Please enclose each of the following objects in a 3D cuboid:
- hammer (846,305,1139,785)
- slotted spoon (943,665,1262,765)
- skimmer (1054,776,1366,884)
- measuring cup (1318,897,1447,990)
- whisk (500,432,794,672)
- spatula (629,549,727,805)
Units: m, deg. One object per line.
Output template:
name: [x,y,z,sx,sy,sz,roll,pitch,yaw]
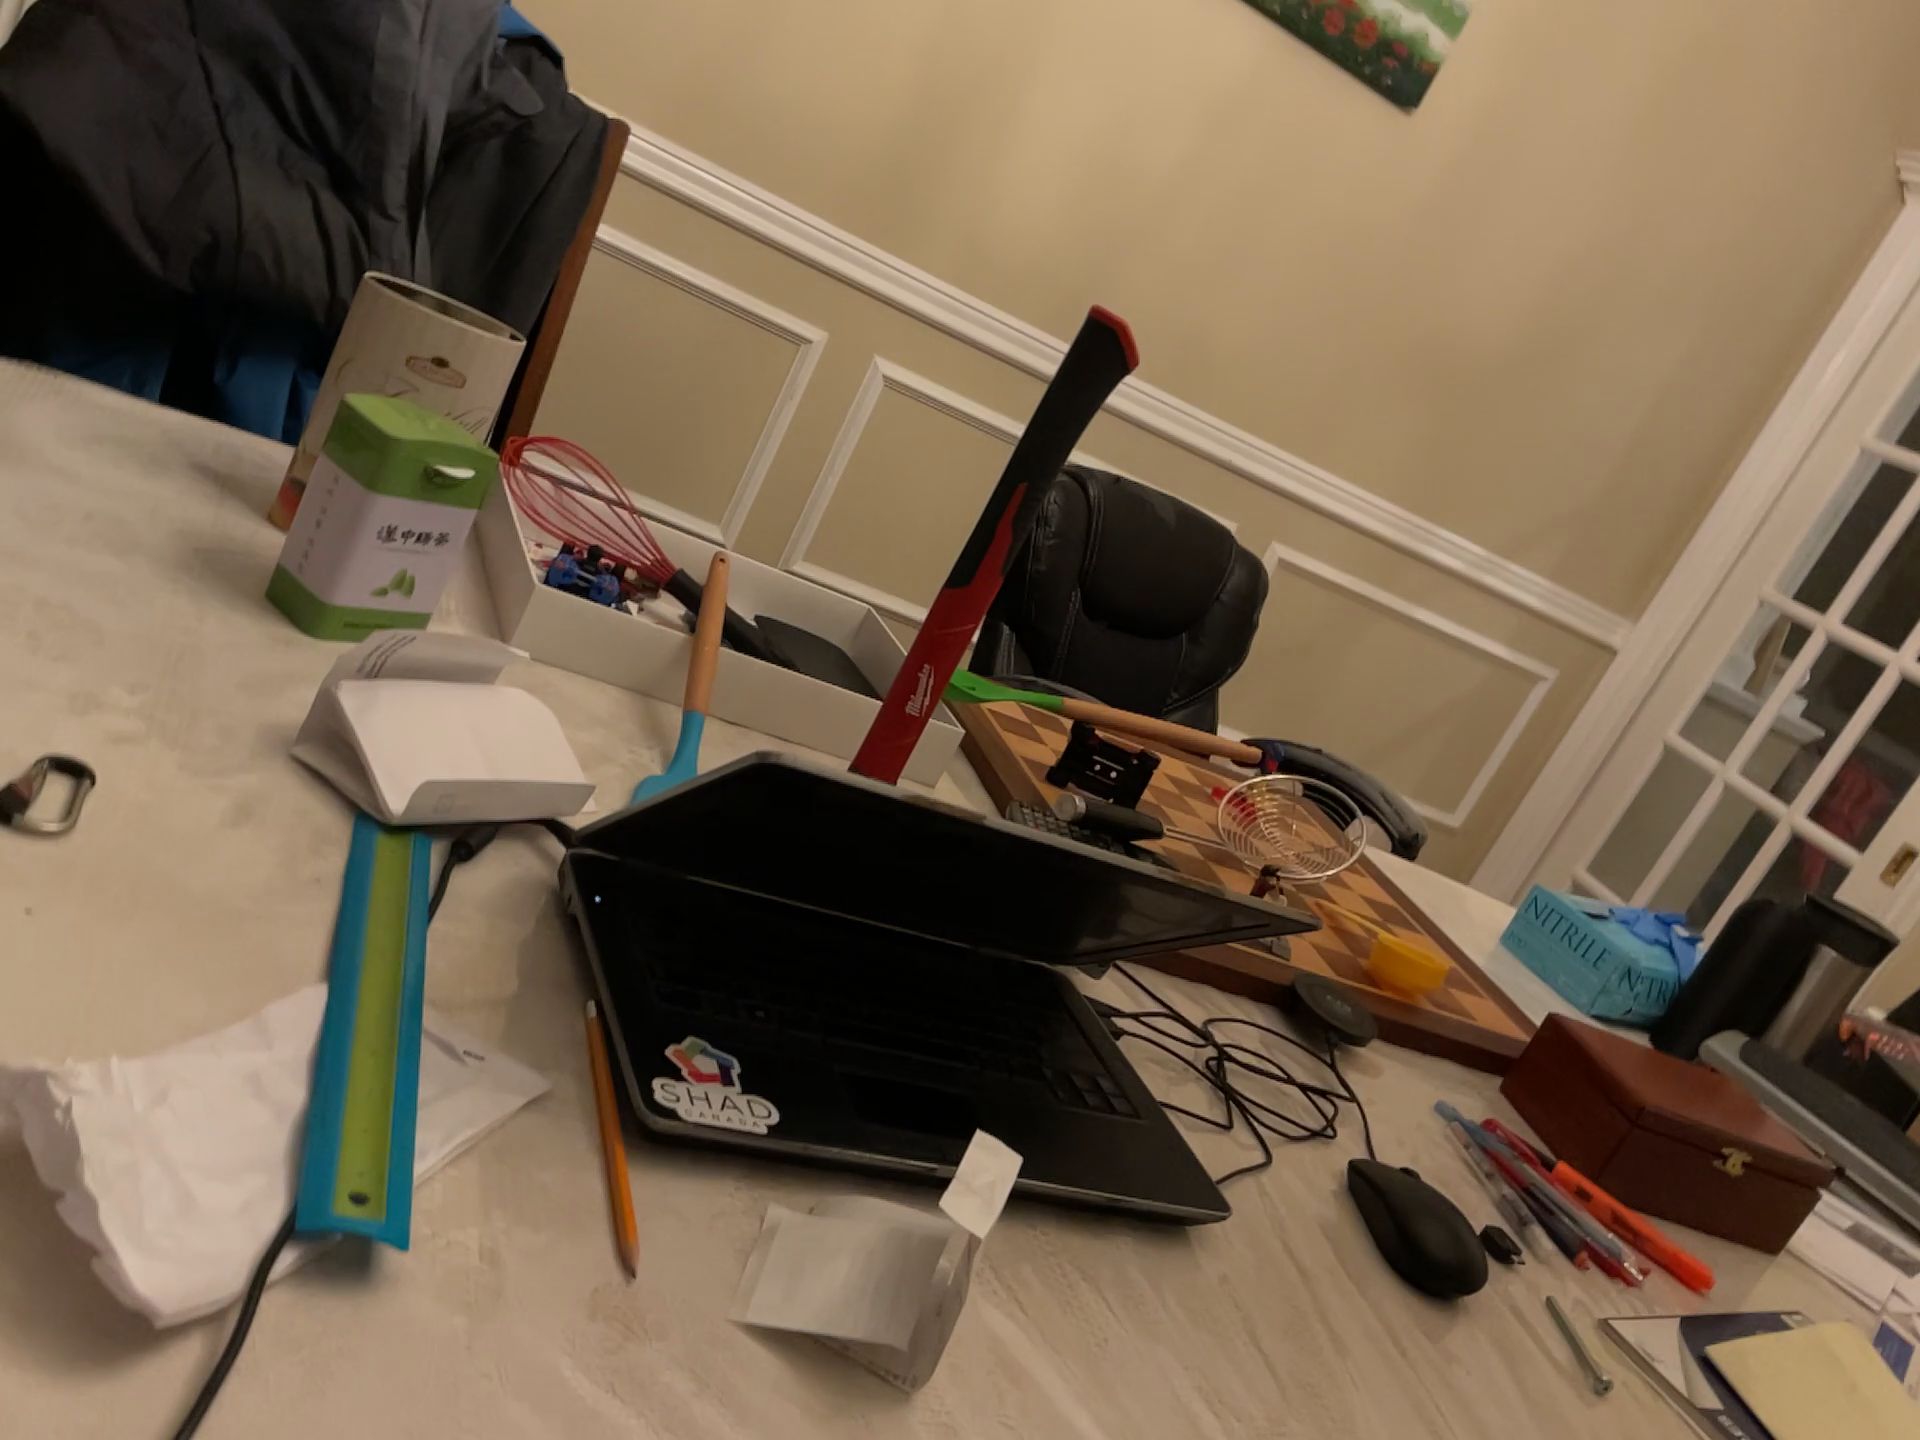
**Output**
hammer: [-0.005,-0.096,1.042,0.143,0.386,0.038,21,17,-22]
slotted spoon: [0.110,-0.005,1.334,0.313,0.031,0.070,15,17,-12]
skimmer: [0.207,0.073,1.298,0.362,0.090,0.128,16,21,-49]
measuring cup: [0.343,0.185,1.326,0.062,0.029,0.157,17,7,-25]
whisk: [-0.250,-0.127,1.283,0.296,0.073,0.073,41,34,-4]
spatula: [-0.172,-0.025,1.073,0.082,0.044,0.318,20,38,-19]
